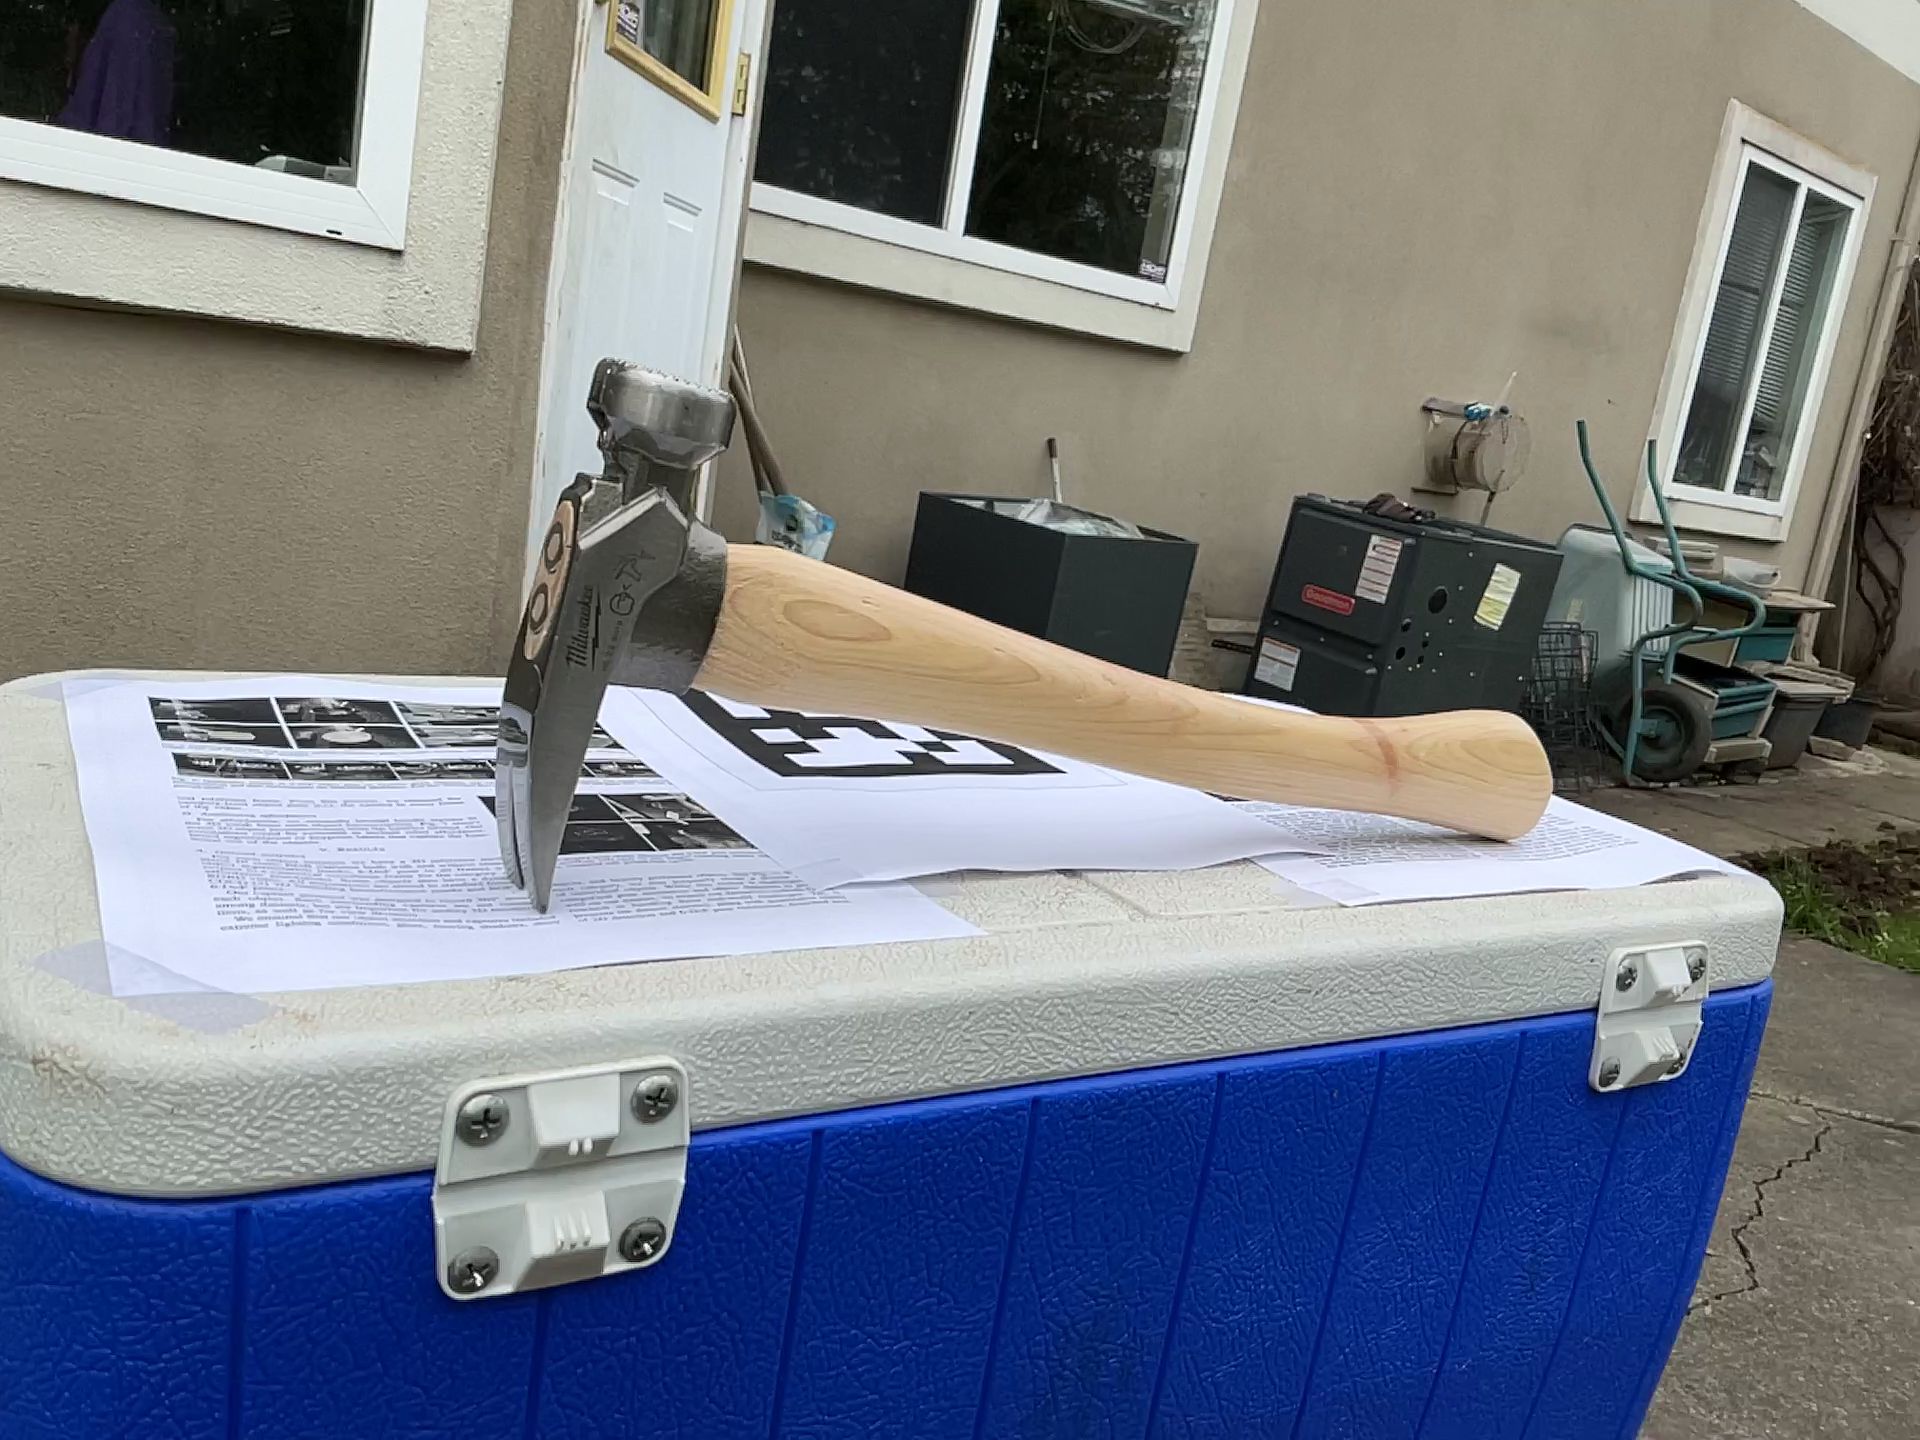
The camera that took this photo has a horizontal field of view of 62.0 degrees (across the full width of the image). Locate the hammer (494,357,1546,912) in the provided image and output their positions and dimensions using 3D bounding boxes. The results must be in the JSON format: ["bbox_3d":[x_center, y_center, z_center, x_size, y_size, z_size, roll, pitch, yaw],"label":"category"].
[{"bbox_3d":[0.053,0.010,0.533,0.410,0.146,0.038,12,9,-34],"label":"hammer"}]
